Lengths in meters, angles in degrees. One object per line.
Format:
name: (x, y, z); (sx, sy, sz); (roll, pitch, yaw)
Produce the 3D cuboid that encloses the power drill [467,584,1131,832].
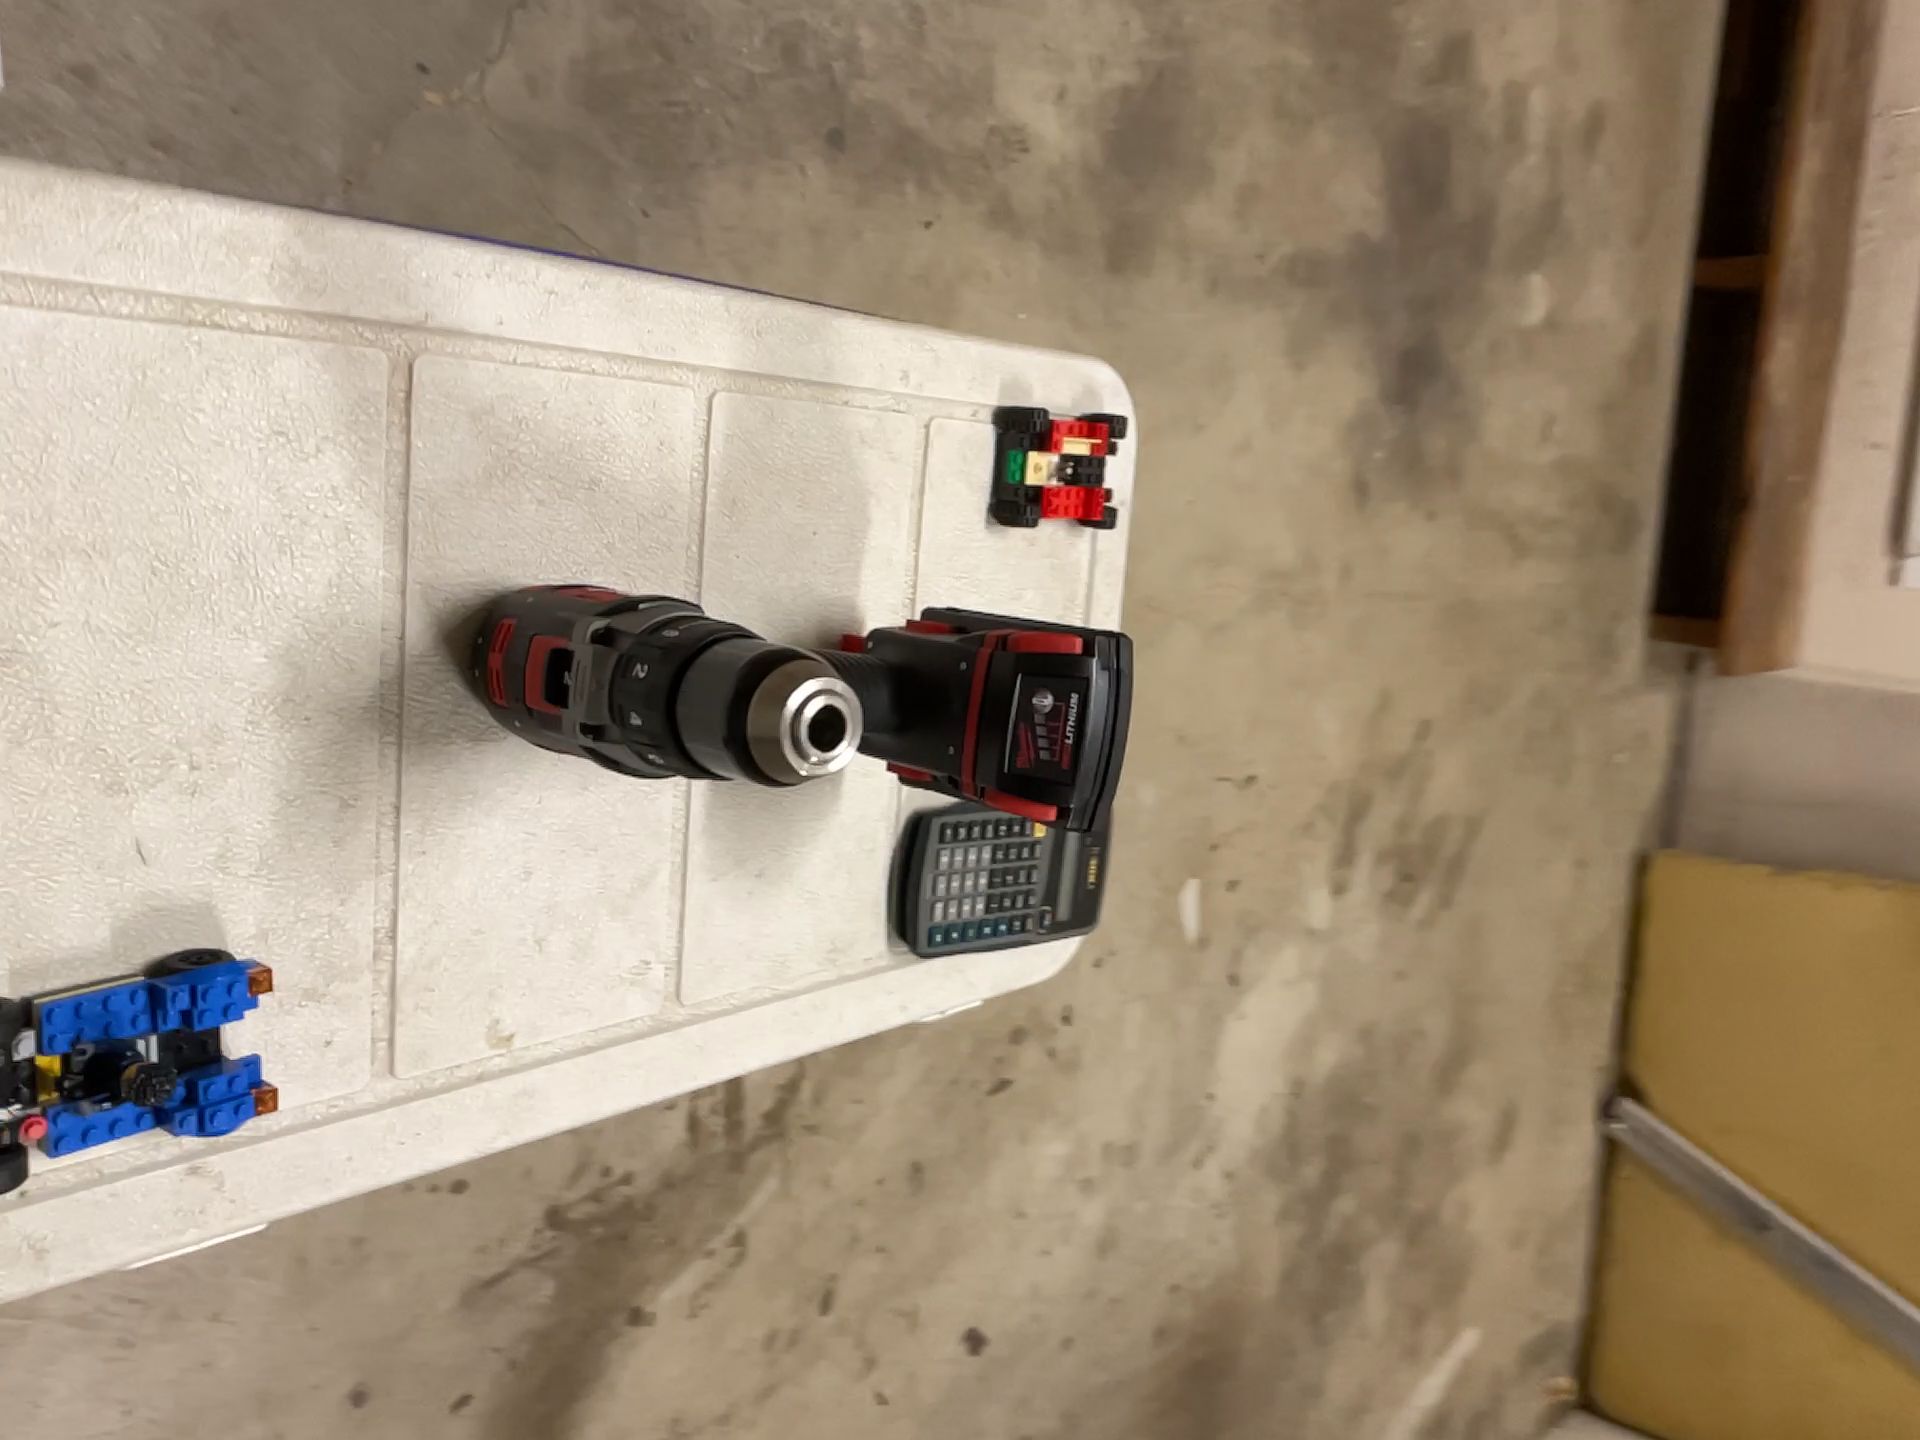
power drill: (-0.039, -0.006, 0.573); (0.227, 0.188, 0.080); (5, 94, -41)
